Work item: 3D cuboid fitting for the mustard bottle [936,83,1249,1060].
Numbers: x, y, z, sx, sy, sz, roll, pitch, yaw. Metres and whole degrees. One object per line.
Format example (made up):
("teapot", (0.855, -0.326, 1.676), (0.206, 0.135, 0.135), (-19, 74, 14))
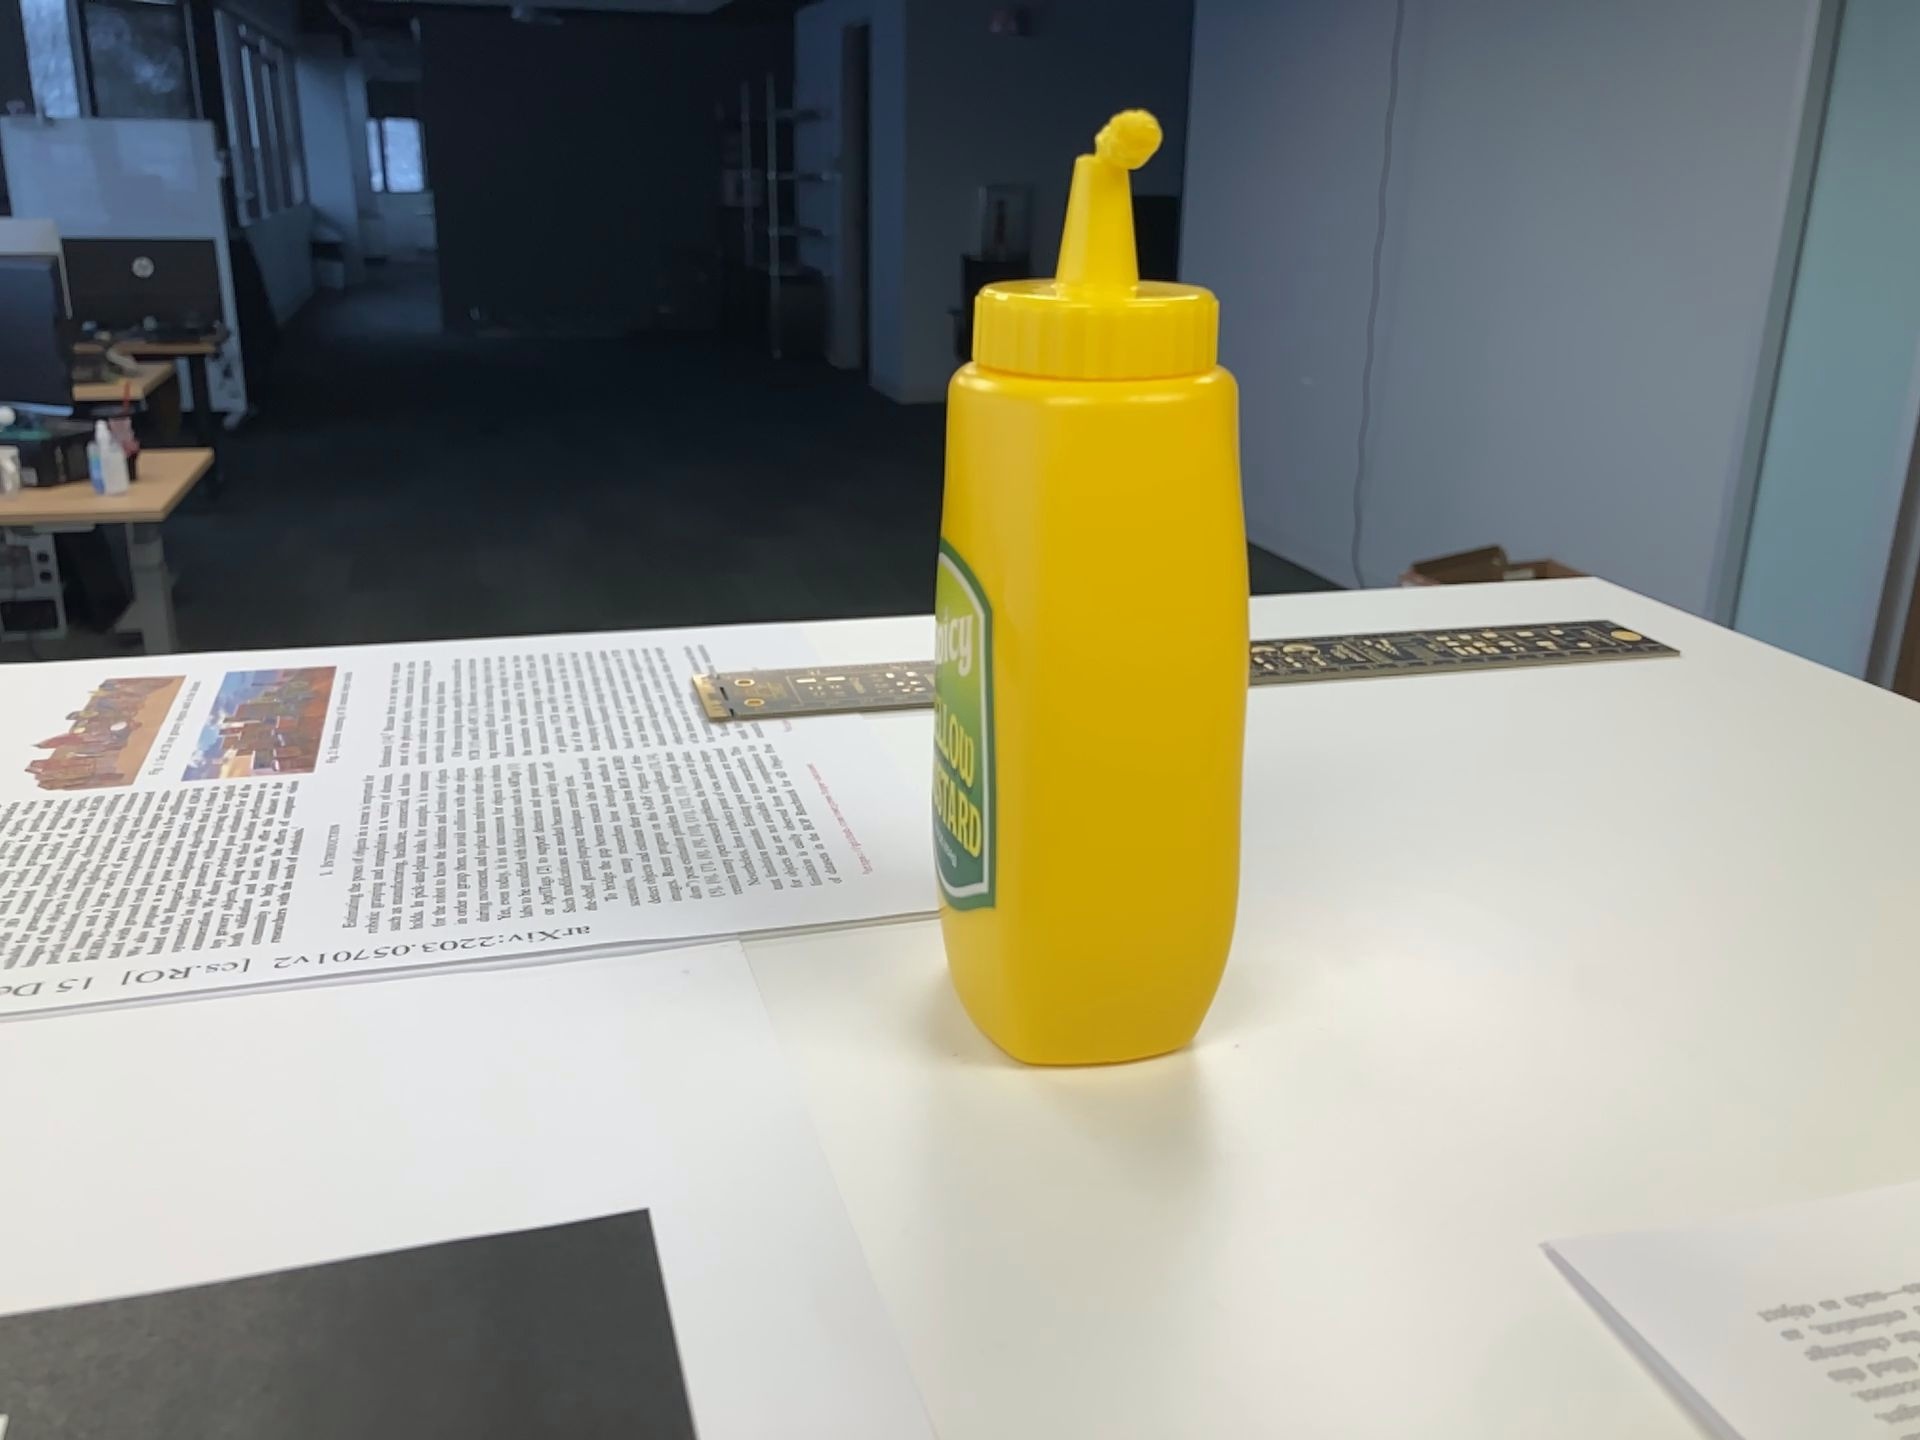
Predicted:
("mustard bottle", (0.021, -0.023, 0.273), (0.049, 0.160, 0.065), (-4, 19, -12))
